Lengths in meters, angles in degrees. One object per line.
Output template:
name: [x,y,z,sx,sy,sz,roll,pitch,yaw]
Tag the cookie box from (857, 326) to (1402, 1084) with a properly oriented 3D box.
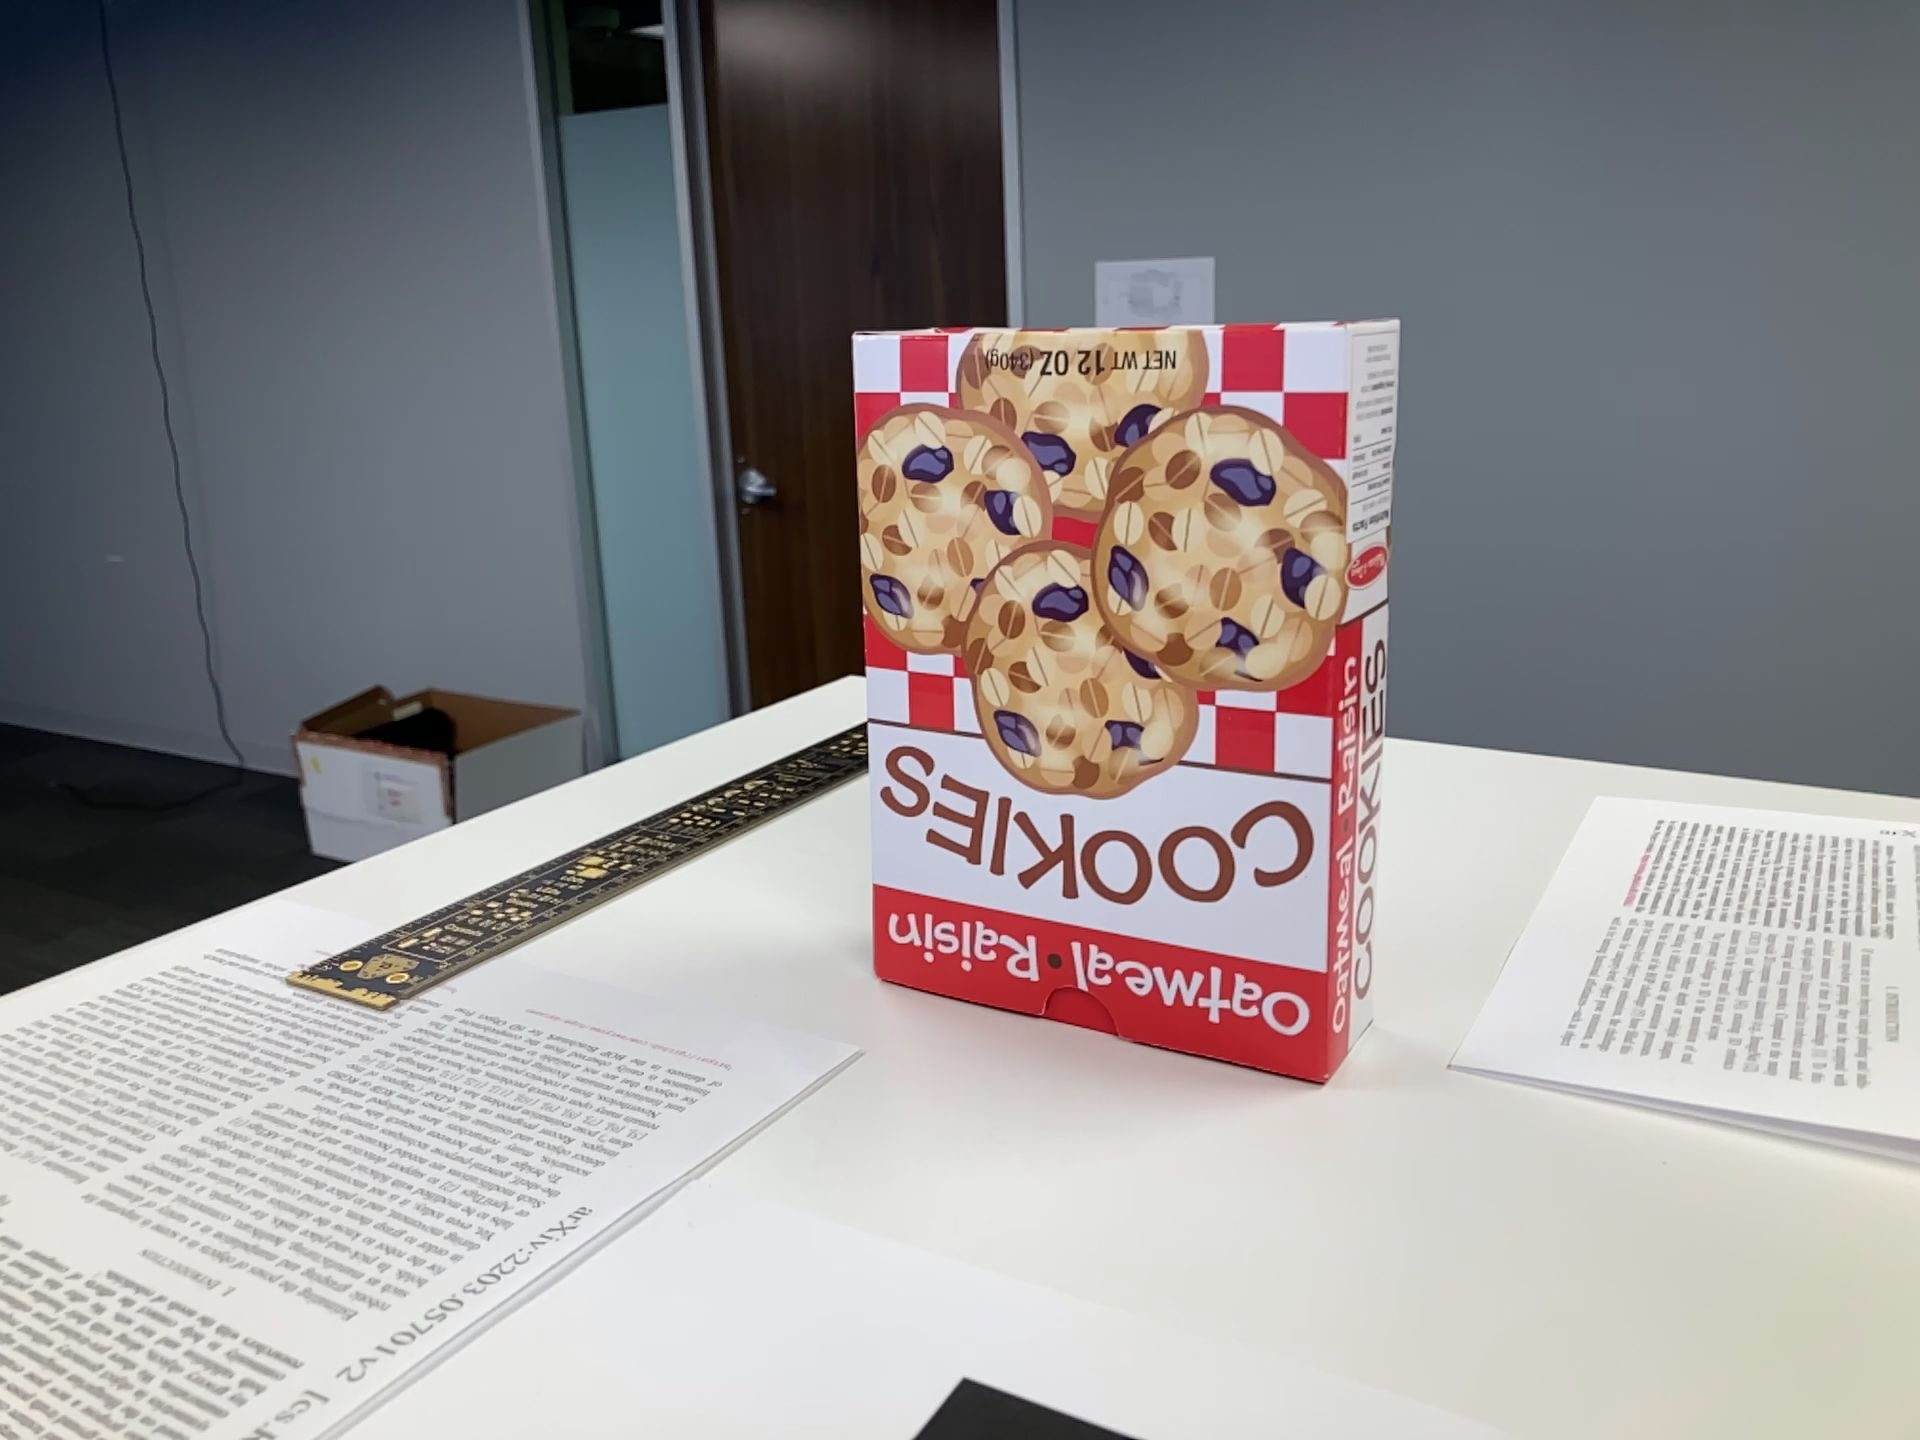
cookie box: [0.037,-0.008,0.383,0.123,0.167,0.040,8,16,31]
